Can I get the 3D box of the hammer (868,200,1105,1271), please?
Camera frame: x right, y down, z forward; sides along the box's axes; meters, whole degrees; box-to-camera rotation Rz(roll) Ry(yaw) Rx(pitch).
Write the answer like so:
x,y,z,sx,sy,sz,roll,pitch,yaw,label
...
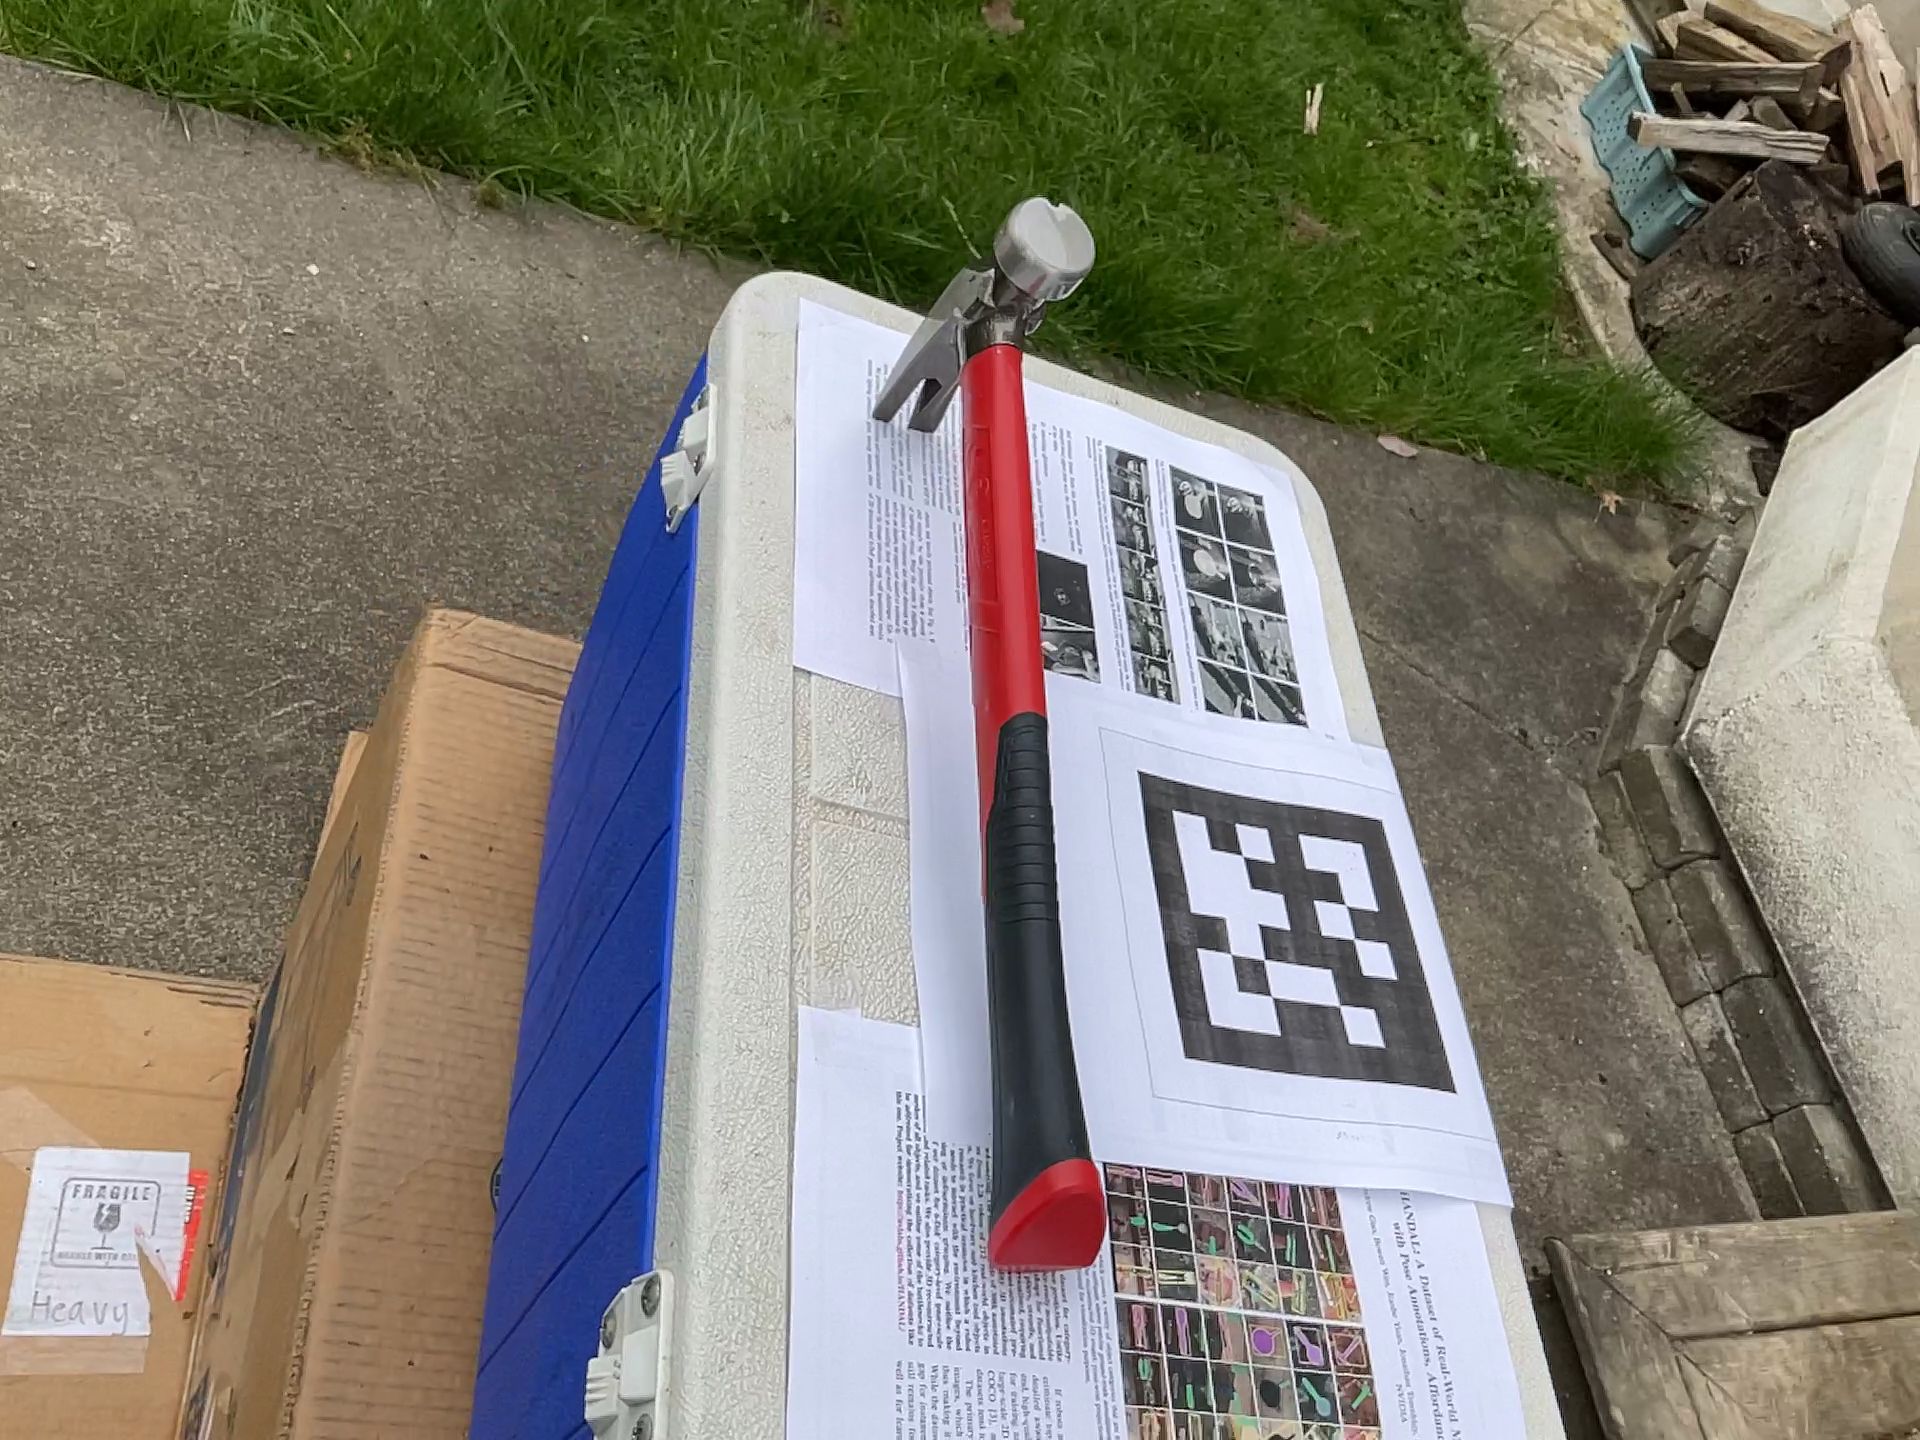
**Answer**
x,y,z,sx,sy,sz,roll,pitch,yaw,label
0.010,0.002,0.596,0.038,0.143,0.386,10,63,-25,hammer
